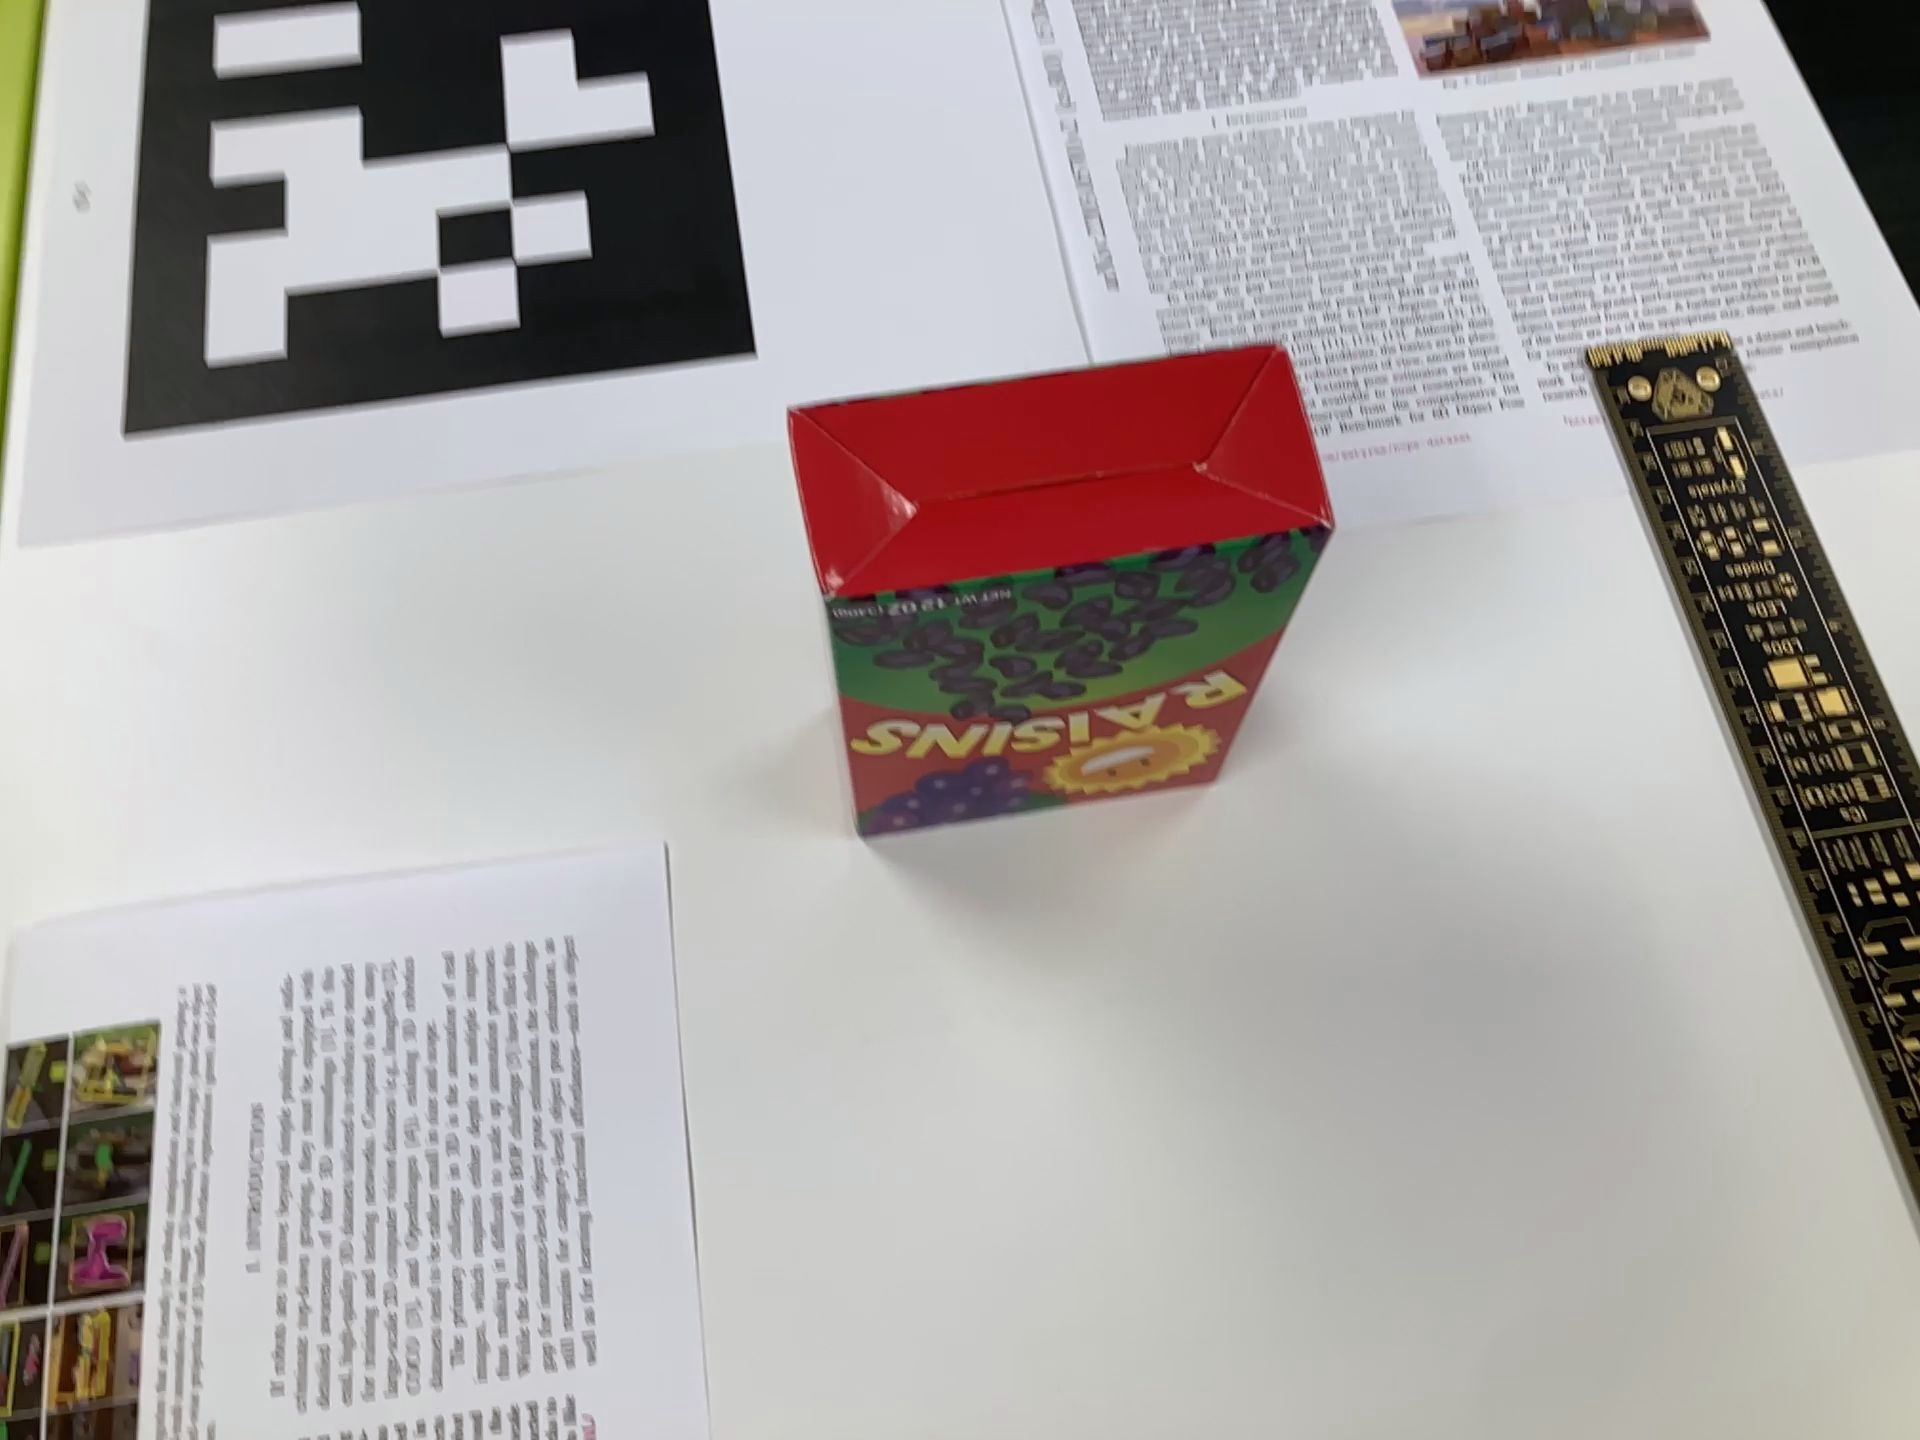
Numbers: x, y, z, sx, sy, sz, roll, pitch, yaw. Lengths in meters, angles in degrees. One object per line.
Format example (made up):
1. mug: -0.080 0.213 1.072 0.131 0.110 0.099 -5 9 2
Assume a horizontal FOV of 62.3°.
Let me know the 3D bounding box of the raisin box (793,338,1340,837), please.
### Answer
1. raisin box: 0.015 -0.019 0.311 0.086 0.123 0.040 -9 68 -4
